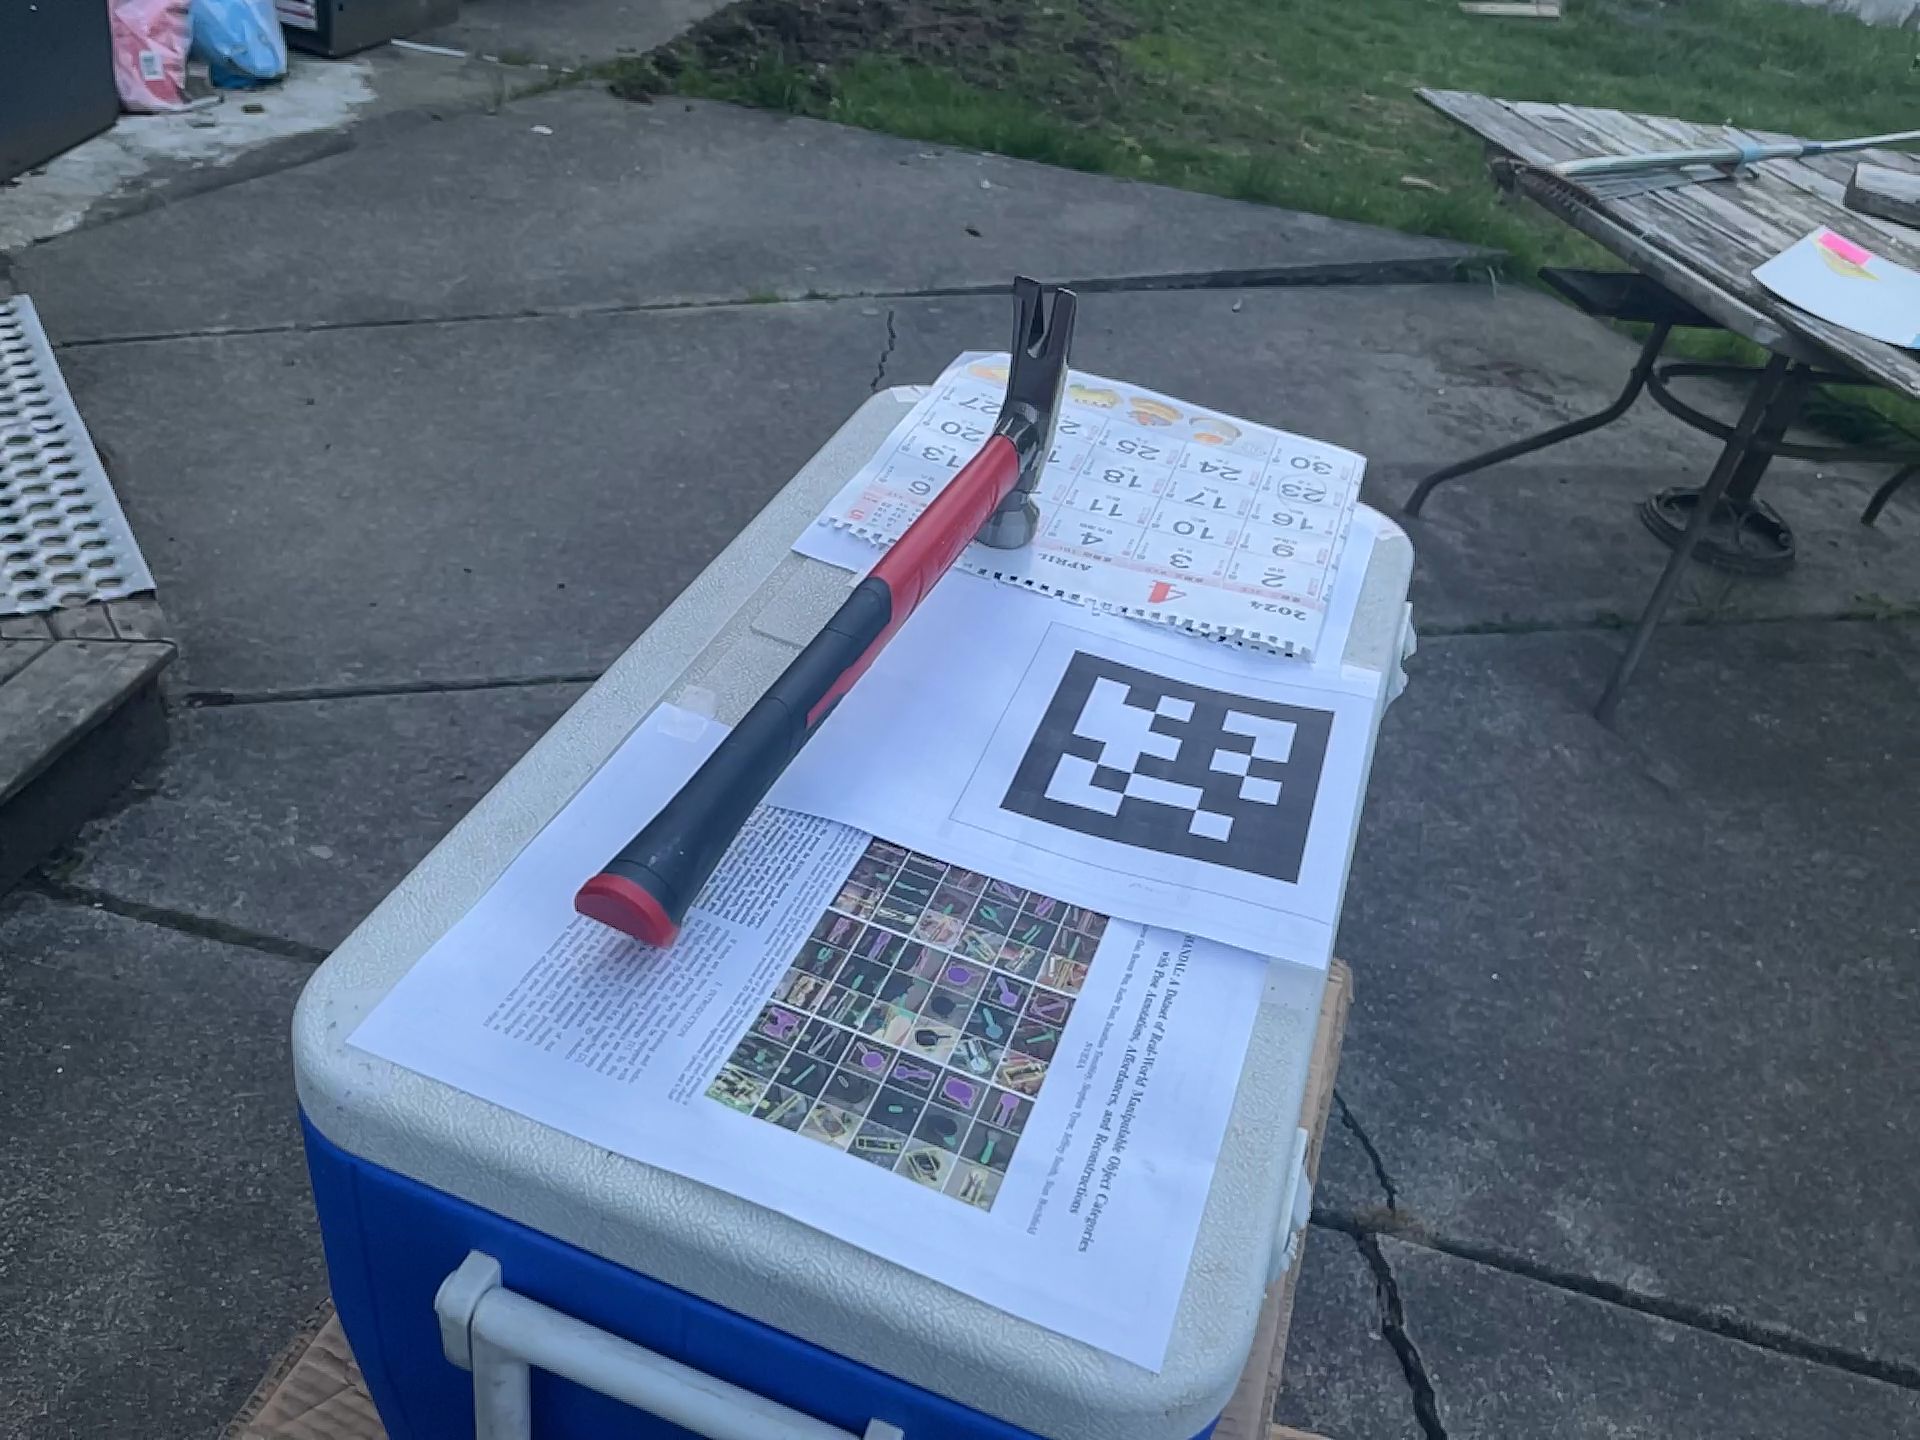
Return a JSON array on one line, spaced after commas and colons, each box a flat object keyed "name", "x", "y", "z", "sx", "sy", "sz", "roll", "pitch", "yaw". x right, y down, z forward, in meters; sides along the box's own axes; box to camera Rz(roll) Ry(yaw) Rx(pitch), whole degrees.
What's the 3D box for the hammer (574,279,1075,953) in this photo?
[{"name": "hammer", "x": -0.039, "y": -0.052, "z": 0.657, "sx": 0.038, "sy": 0.143, "sz": 0.387, "roll": 21, "pitch": 43, "yaw": 13}]
